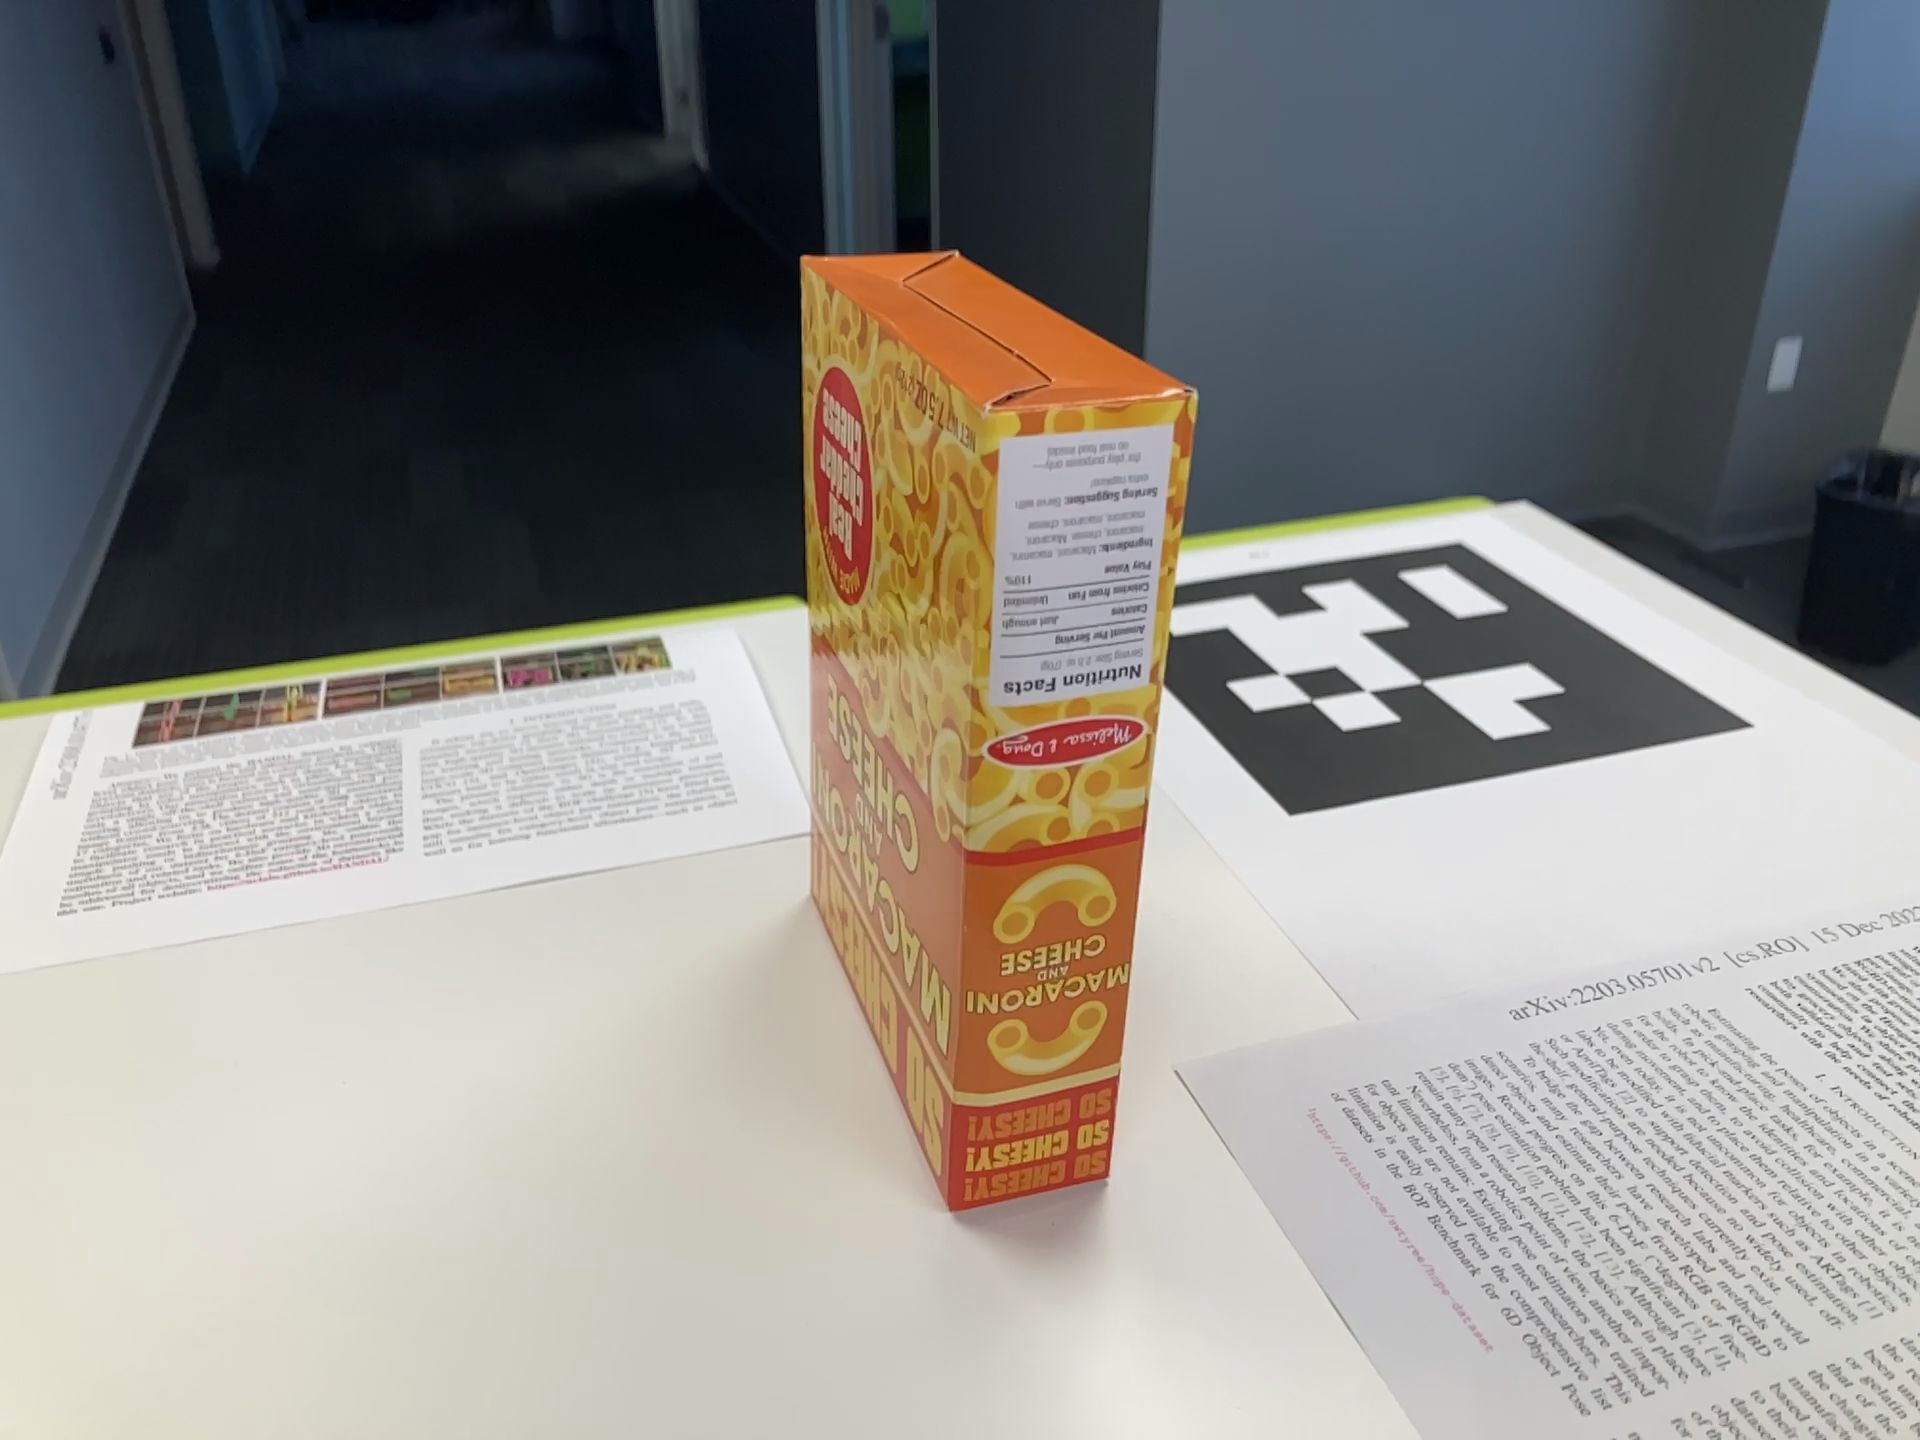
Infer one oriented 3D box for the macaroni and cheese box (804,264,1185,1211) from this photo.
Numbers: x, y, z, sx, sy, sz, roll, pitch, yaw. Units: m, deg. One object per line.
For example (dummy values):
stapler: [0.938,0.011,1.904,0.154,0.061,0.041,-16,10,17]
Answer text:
macaroni and cheese box: [-0.001,-0.002,0.341,0.040,0.166,0.124,-6,27,-17]
